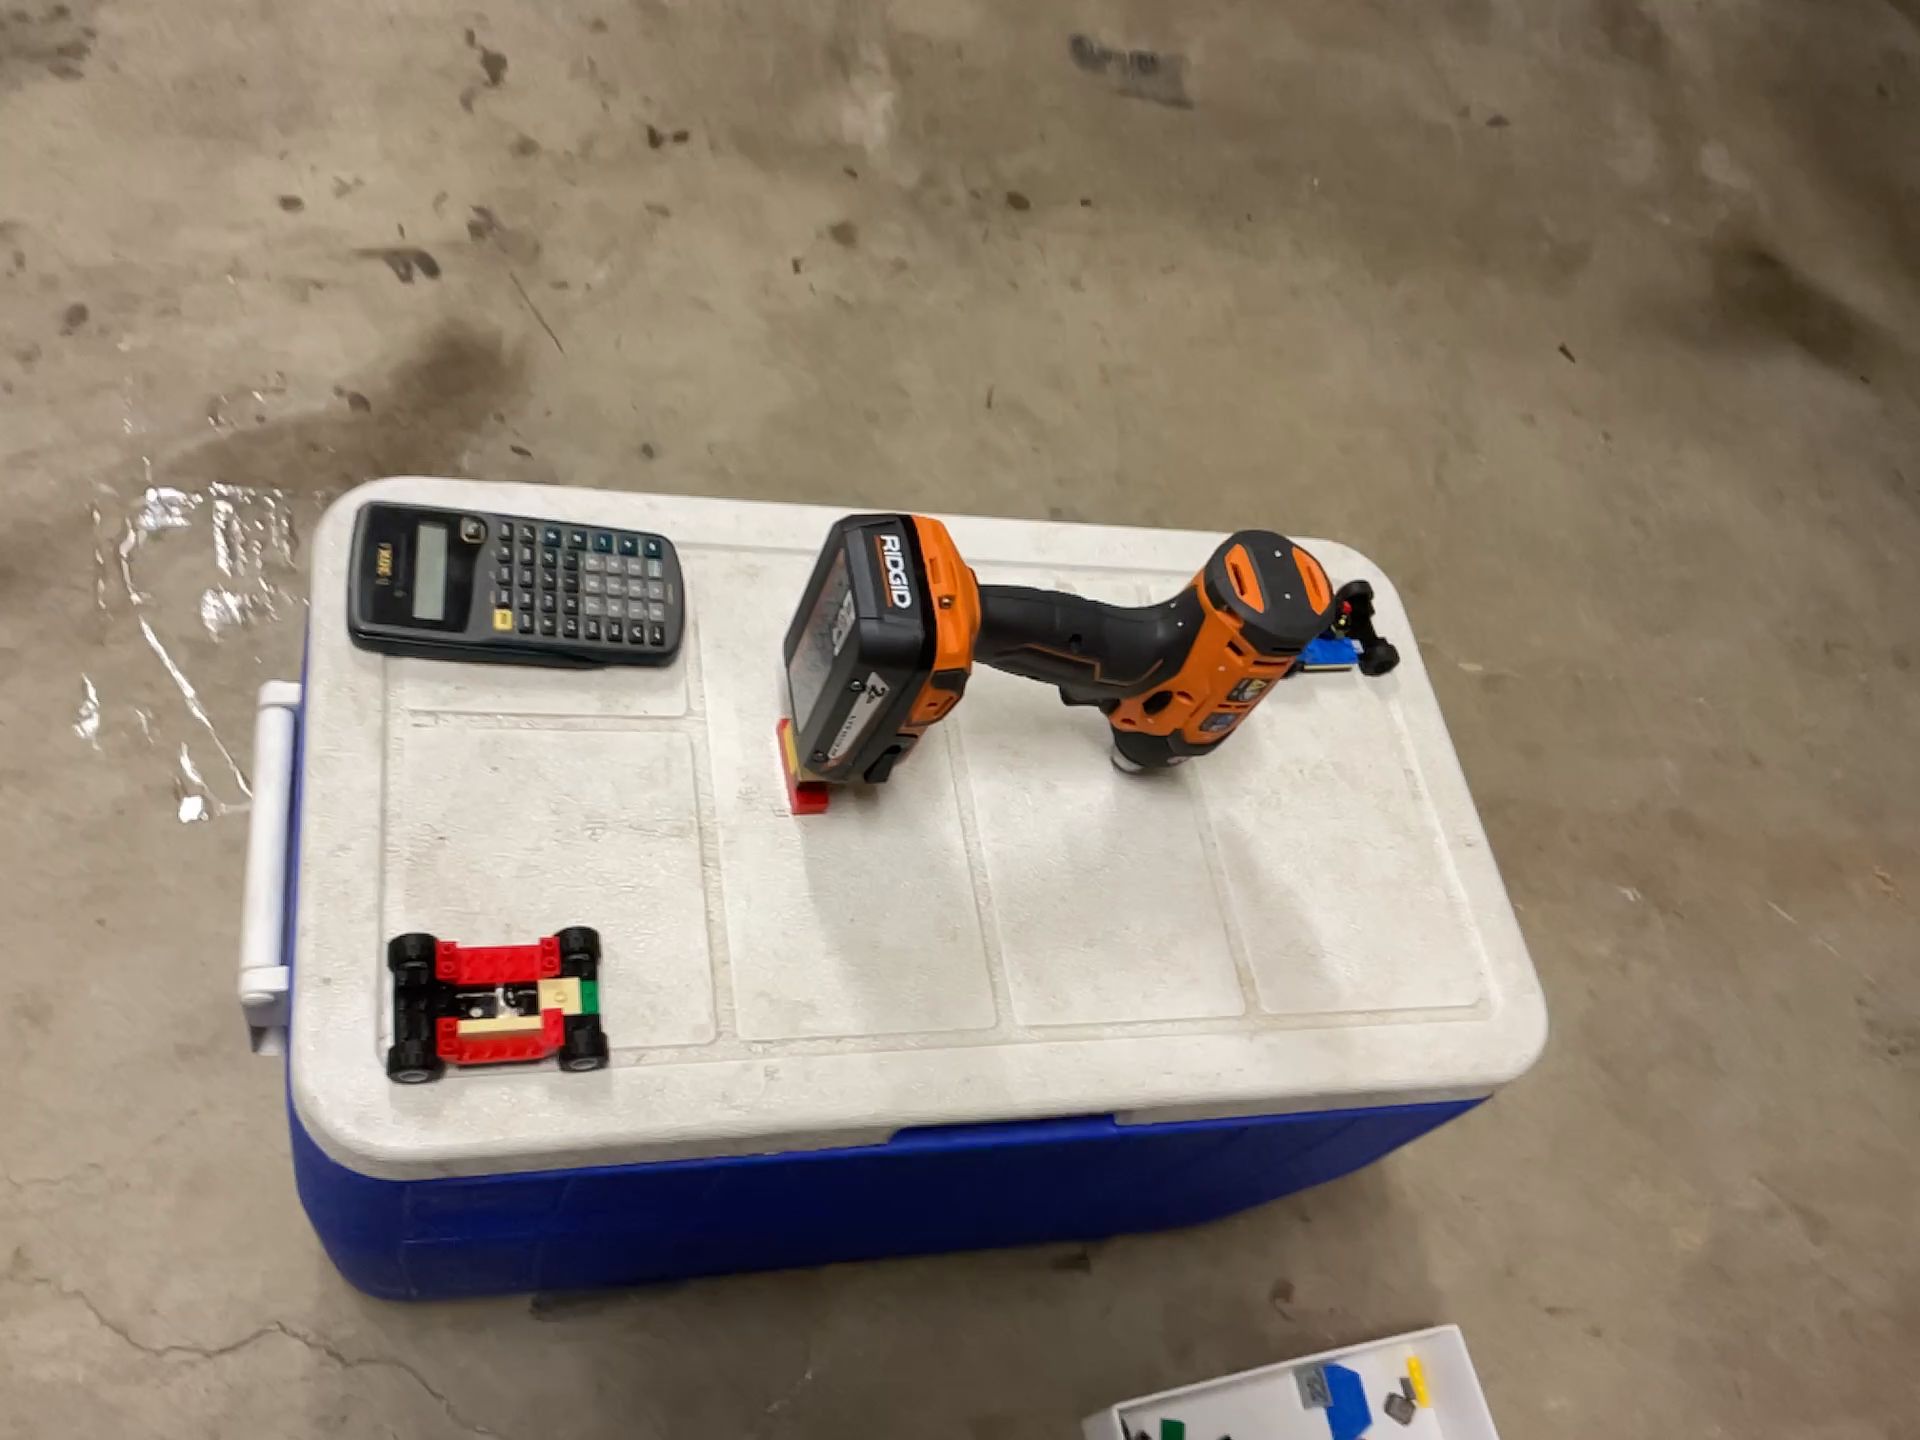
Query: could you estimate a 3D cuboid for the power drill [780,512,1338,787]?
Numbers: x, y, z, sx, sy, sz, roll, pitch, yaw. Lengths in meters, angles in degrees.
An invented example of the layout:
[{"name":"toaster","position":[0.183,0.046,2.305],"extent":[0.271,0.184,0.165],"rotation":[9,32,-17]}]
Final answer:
[{"name":"power drill","position":[0.038,-0.021,0.733],"extent":[0.226,0.164,0.084],"rotation":[0,58,-22]}]
